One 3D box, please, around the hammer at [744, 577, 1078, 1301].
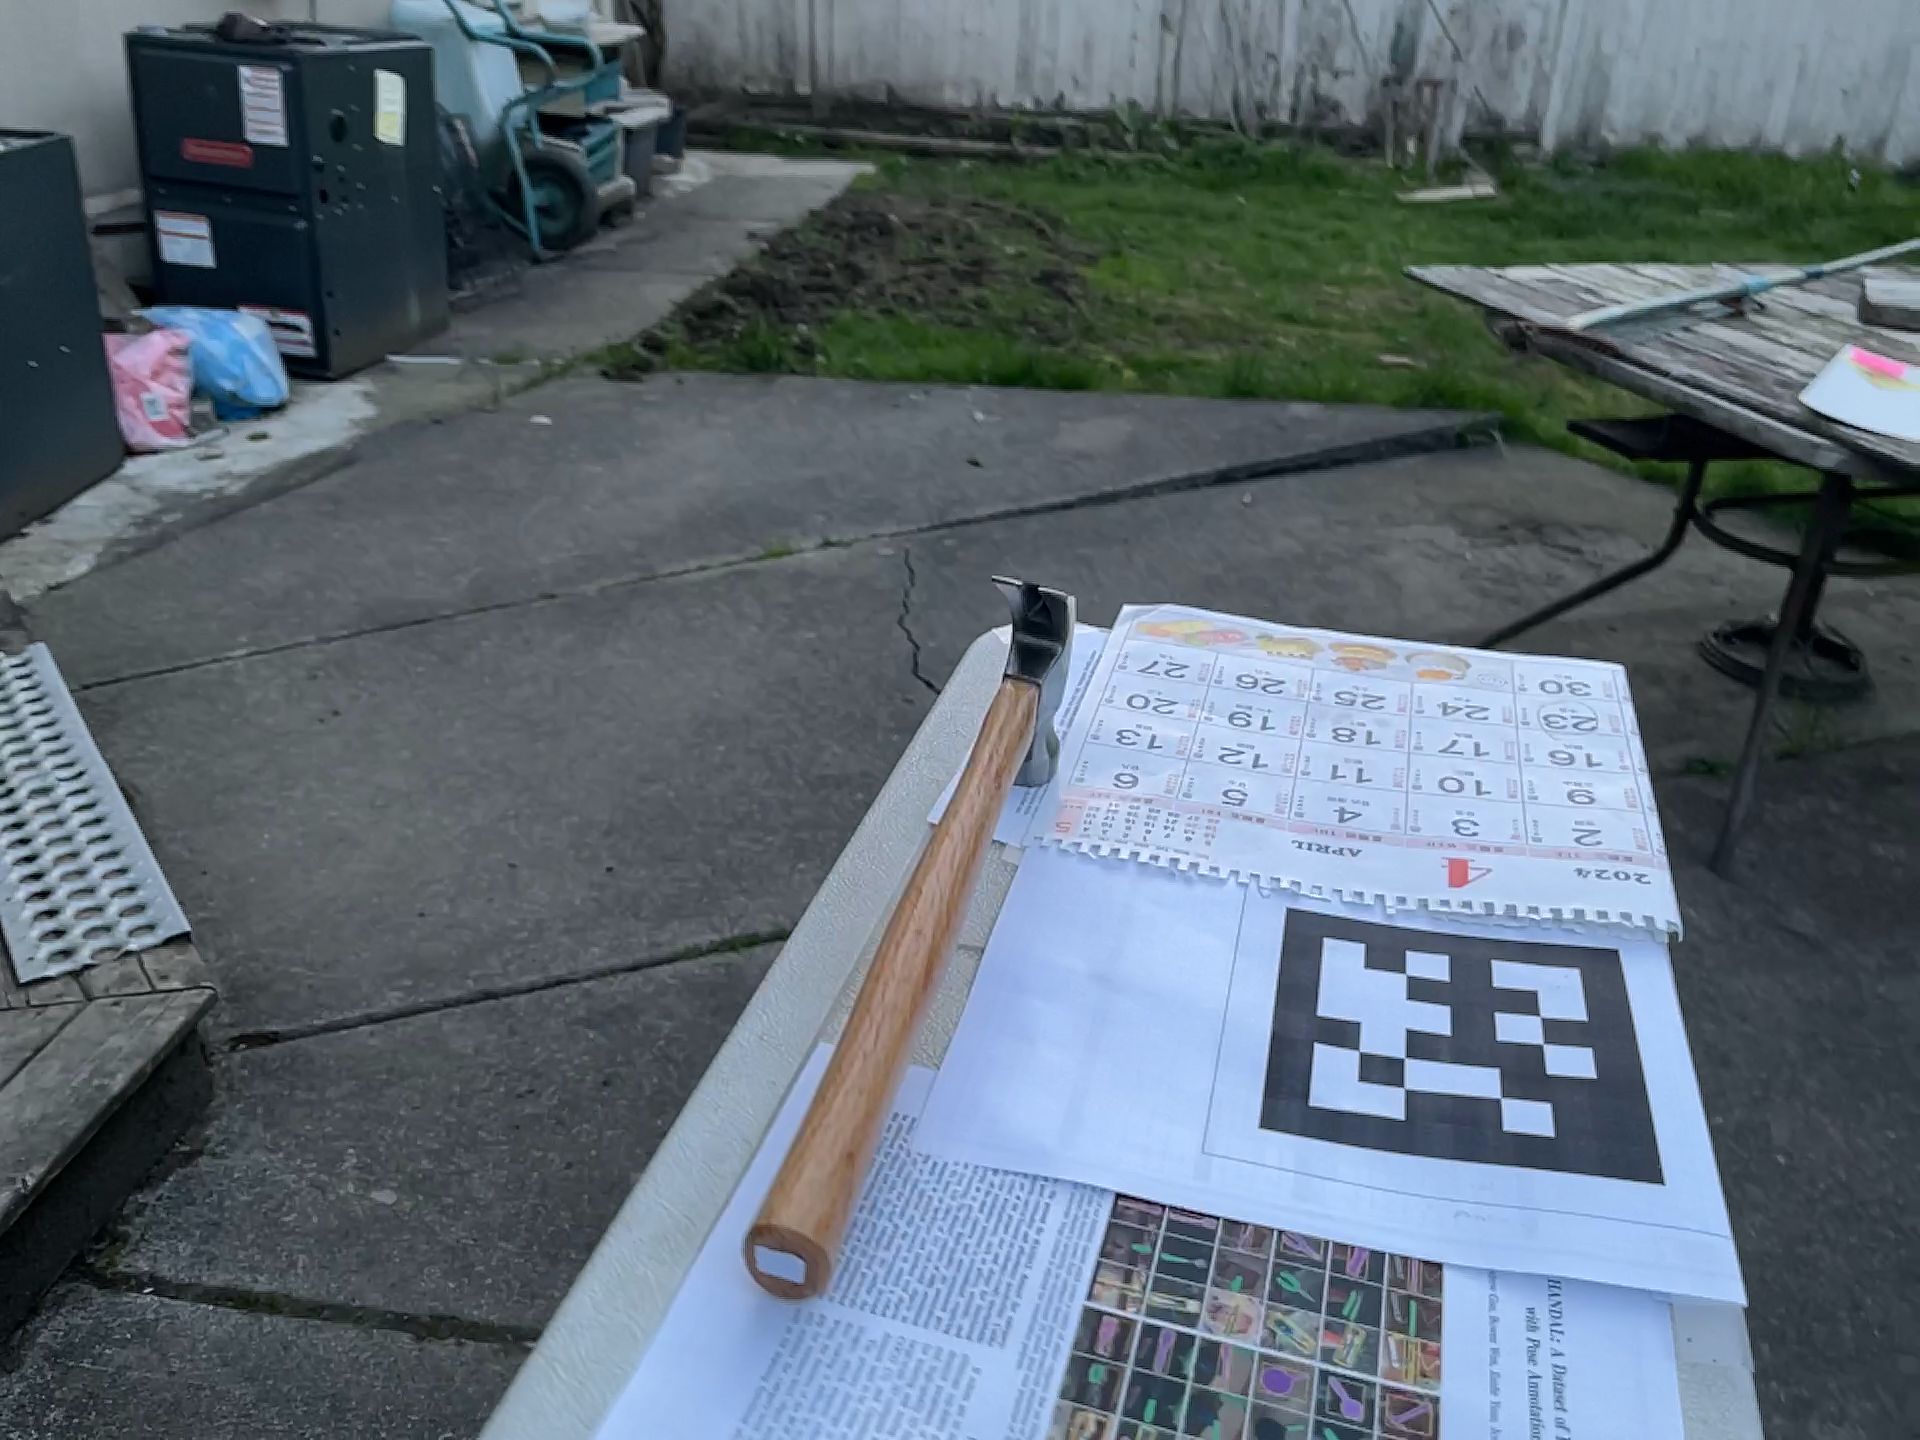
[{"bbox_3d":[-0.005,0.059,0.570,0.031,0.130,0.331,13,39,10],"label":"hammer"}]
